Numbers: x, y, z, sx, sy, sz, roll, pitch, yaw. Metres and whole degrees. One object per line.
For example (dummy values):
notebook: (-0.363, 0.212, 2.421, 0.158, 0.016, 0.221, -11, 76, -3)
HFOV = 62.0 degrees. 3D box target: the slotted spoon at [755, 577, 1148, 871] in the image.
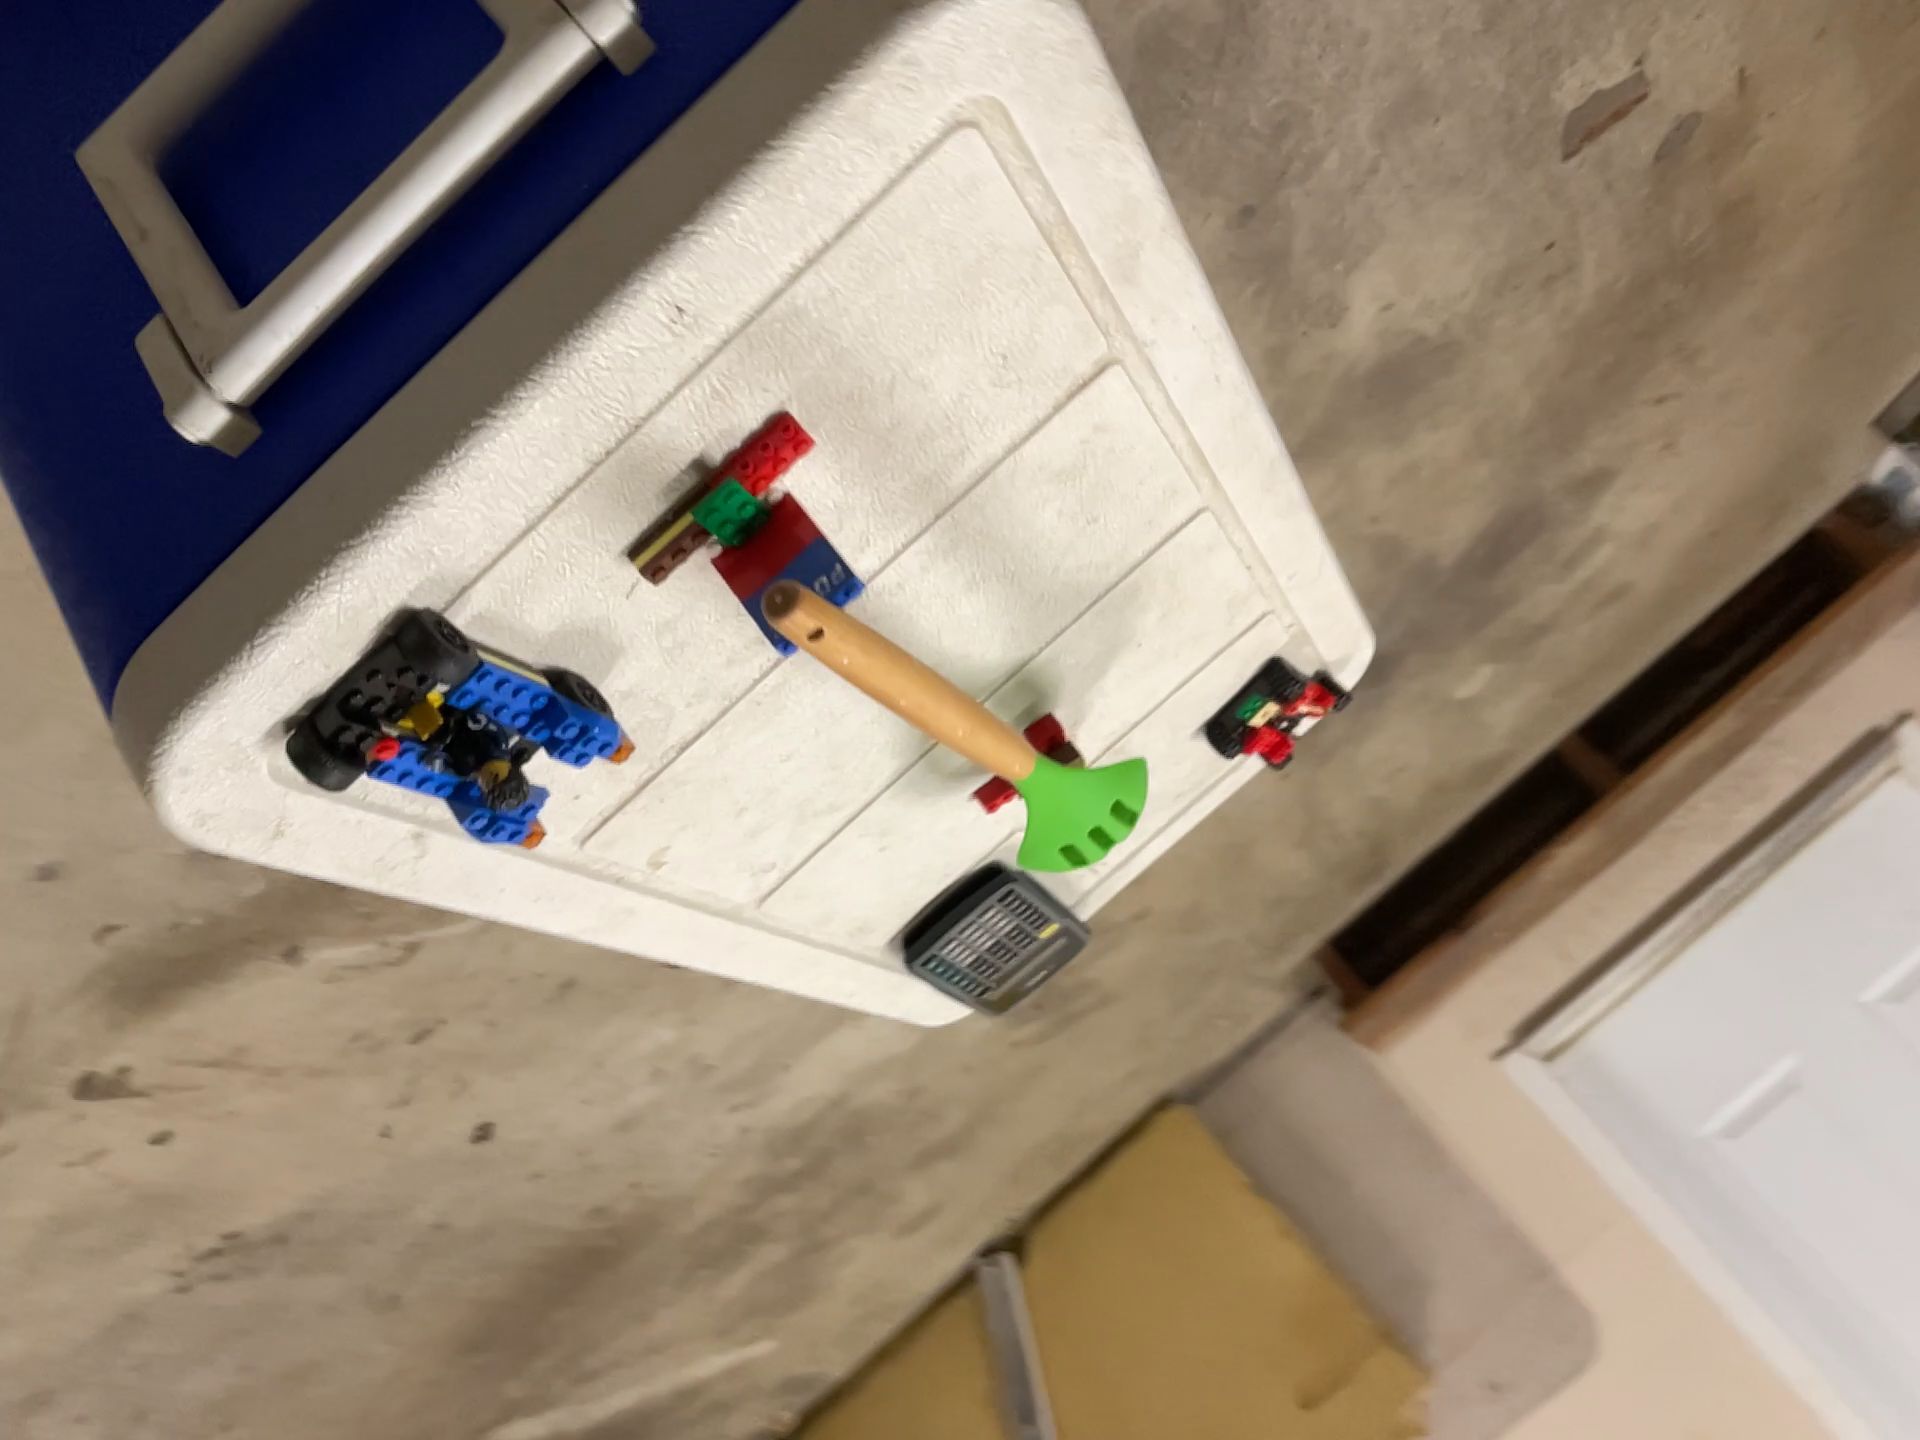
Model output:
slotted spoon: (0.009, 0.009, 0.560, 0.070, 0.031, 0.313, -41, 154, 7)
